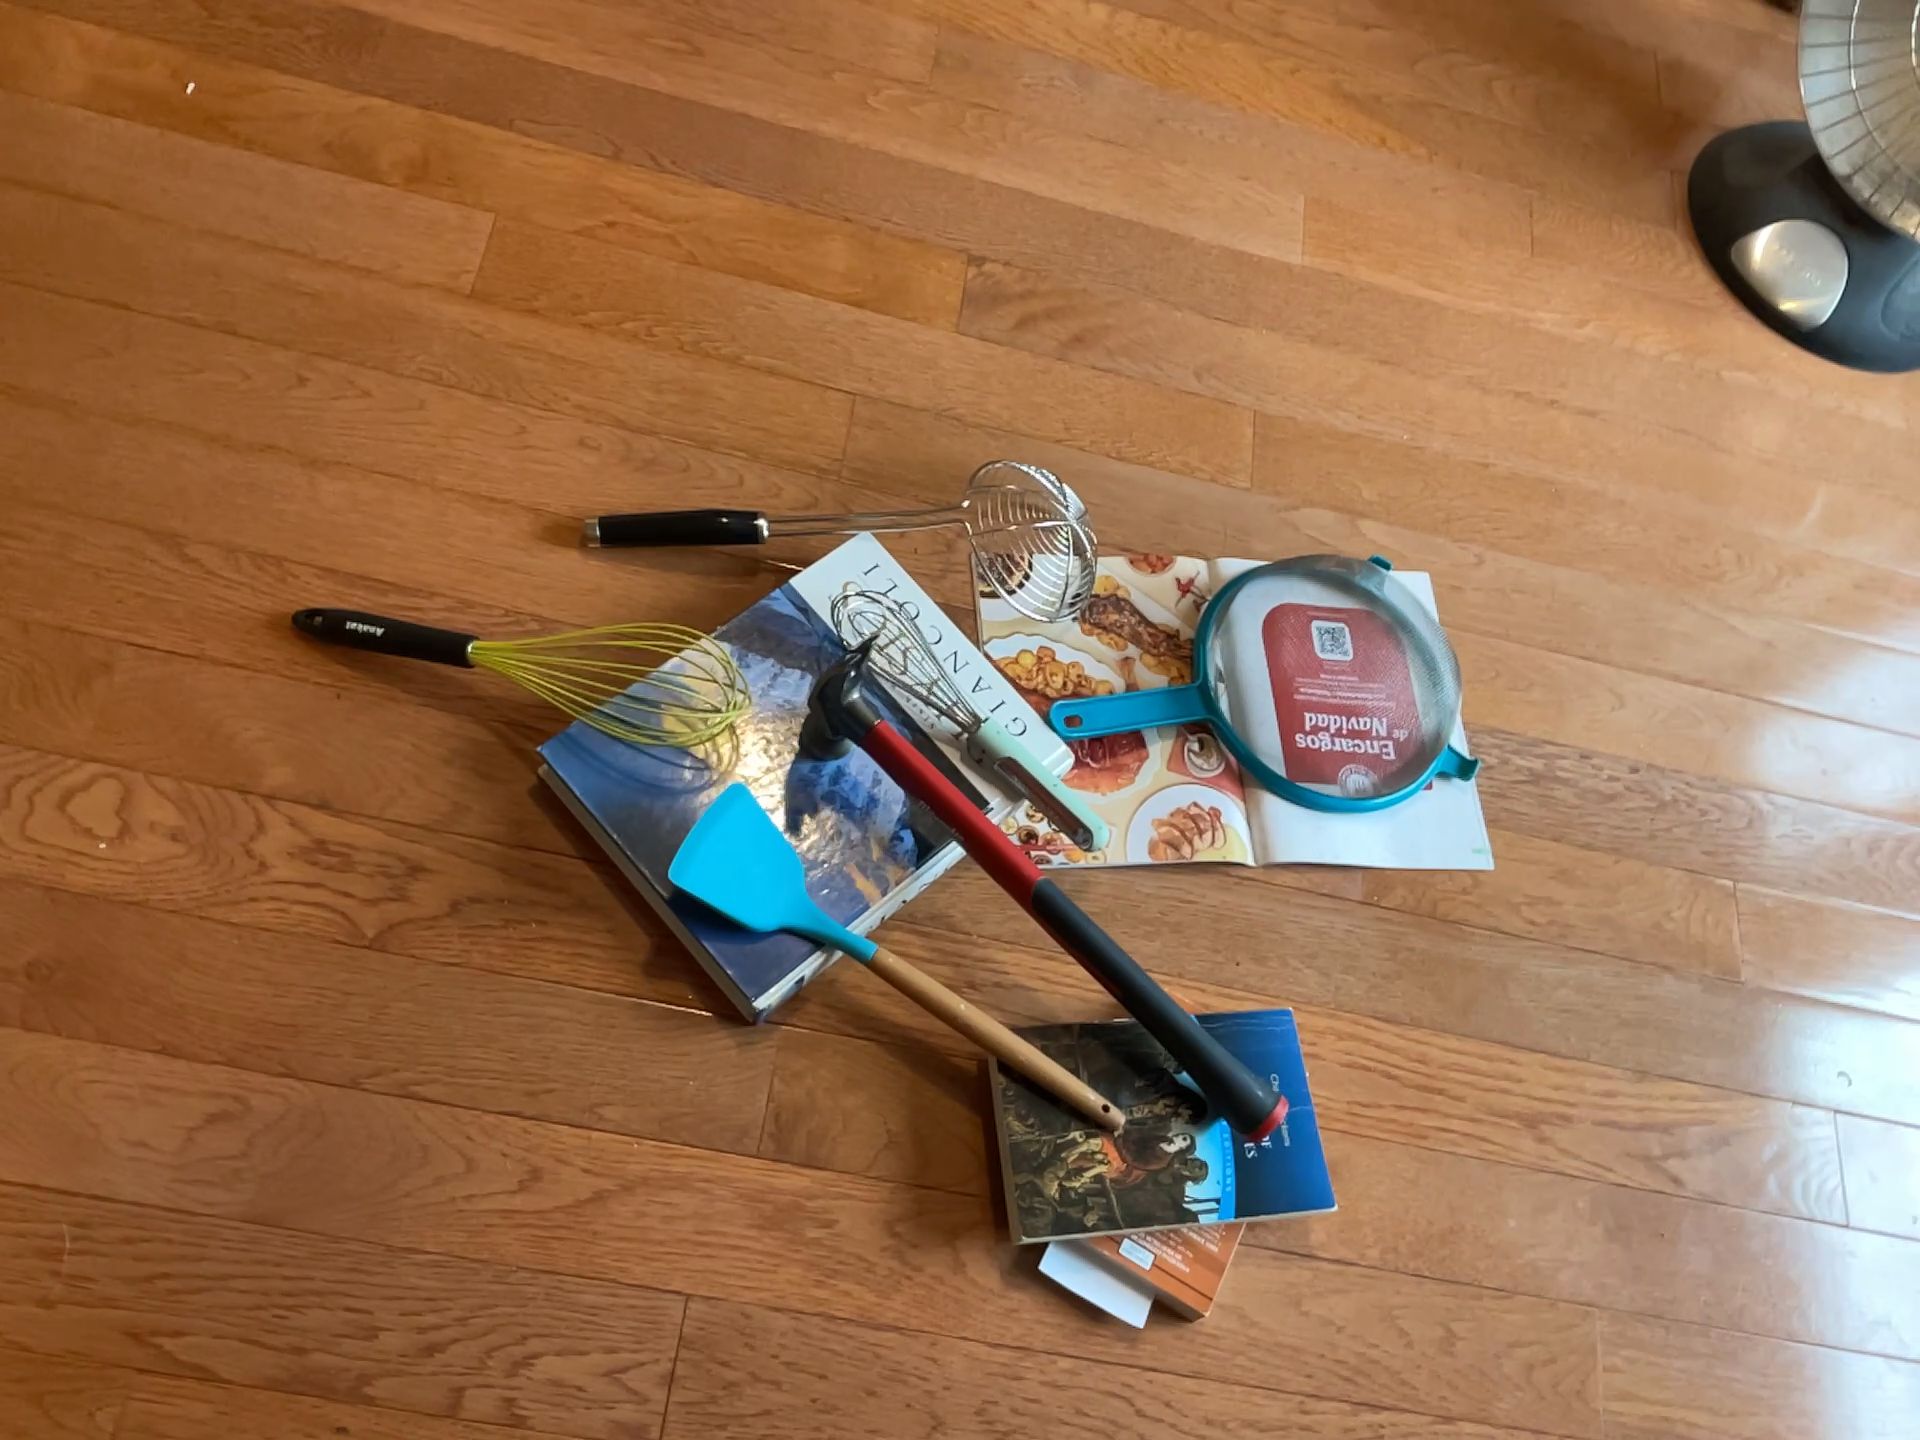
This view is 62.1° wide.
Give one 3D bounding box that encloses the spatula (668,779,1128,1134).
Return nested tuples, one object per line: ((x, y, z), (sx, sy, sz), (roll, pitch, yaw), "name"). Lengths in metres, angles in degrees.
((-0.030, 0.157, 0.972), (0.317, 0.044, 0.082), (33, 60, 3), "spatula")

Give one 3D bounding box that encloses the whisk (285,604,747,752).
((-0.285, -0.038, 1.015), (0.311, 0.067, 0.080), (11, 77, 7), "whisk")

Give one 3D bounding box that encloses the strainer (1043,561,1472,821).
((0.225, -0.033, 1.133), (0.340, 0.095, 0.211), (-7, 67, -25), "strainer")

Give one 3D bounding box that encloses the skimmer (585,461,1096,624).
((-0.079, -0.125, 1.146), (0.363, 0.090, 0.127), (-3, 68, -4), "skimmer")

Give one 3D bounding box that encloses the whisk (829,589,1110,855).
((0.006, 0.002, 1.060), (0.246, 0.057, 0.059), (43, 31, 2), "whisk")

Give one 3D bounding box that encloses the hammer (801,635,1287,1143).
((0.055, 0.107, 0.974), (0.386, 0.143, 0.038), (44, 66, 5), "hammer")
